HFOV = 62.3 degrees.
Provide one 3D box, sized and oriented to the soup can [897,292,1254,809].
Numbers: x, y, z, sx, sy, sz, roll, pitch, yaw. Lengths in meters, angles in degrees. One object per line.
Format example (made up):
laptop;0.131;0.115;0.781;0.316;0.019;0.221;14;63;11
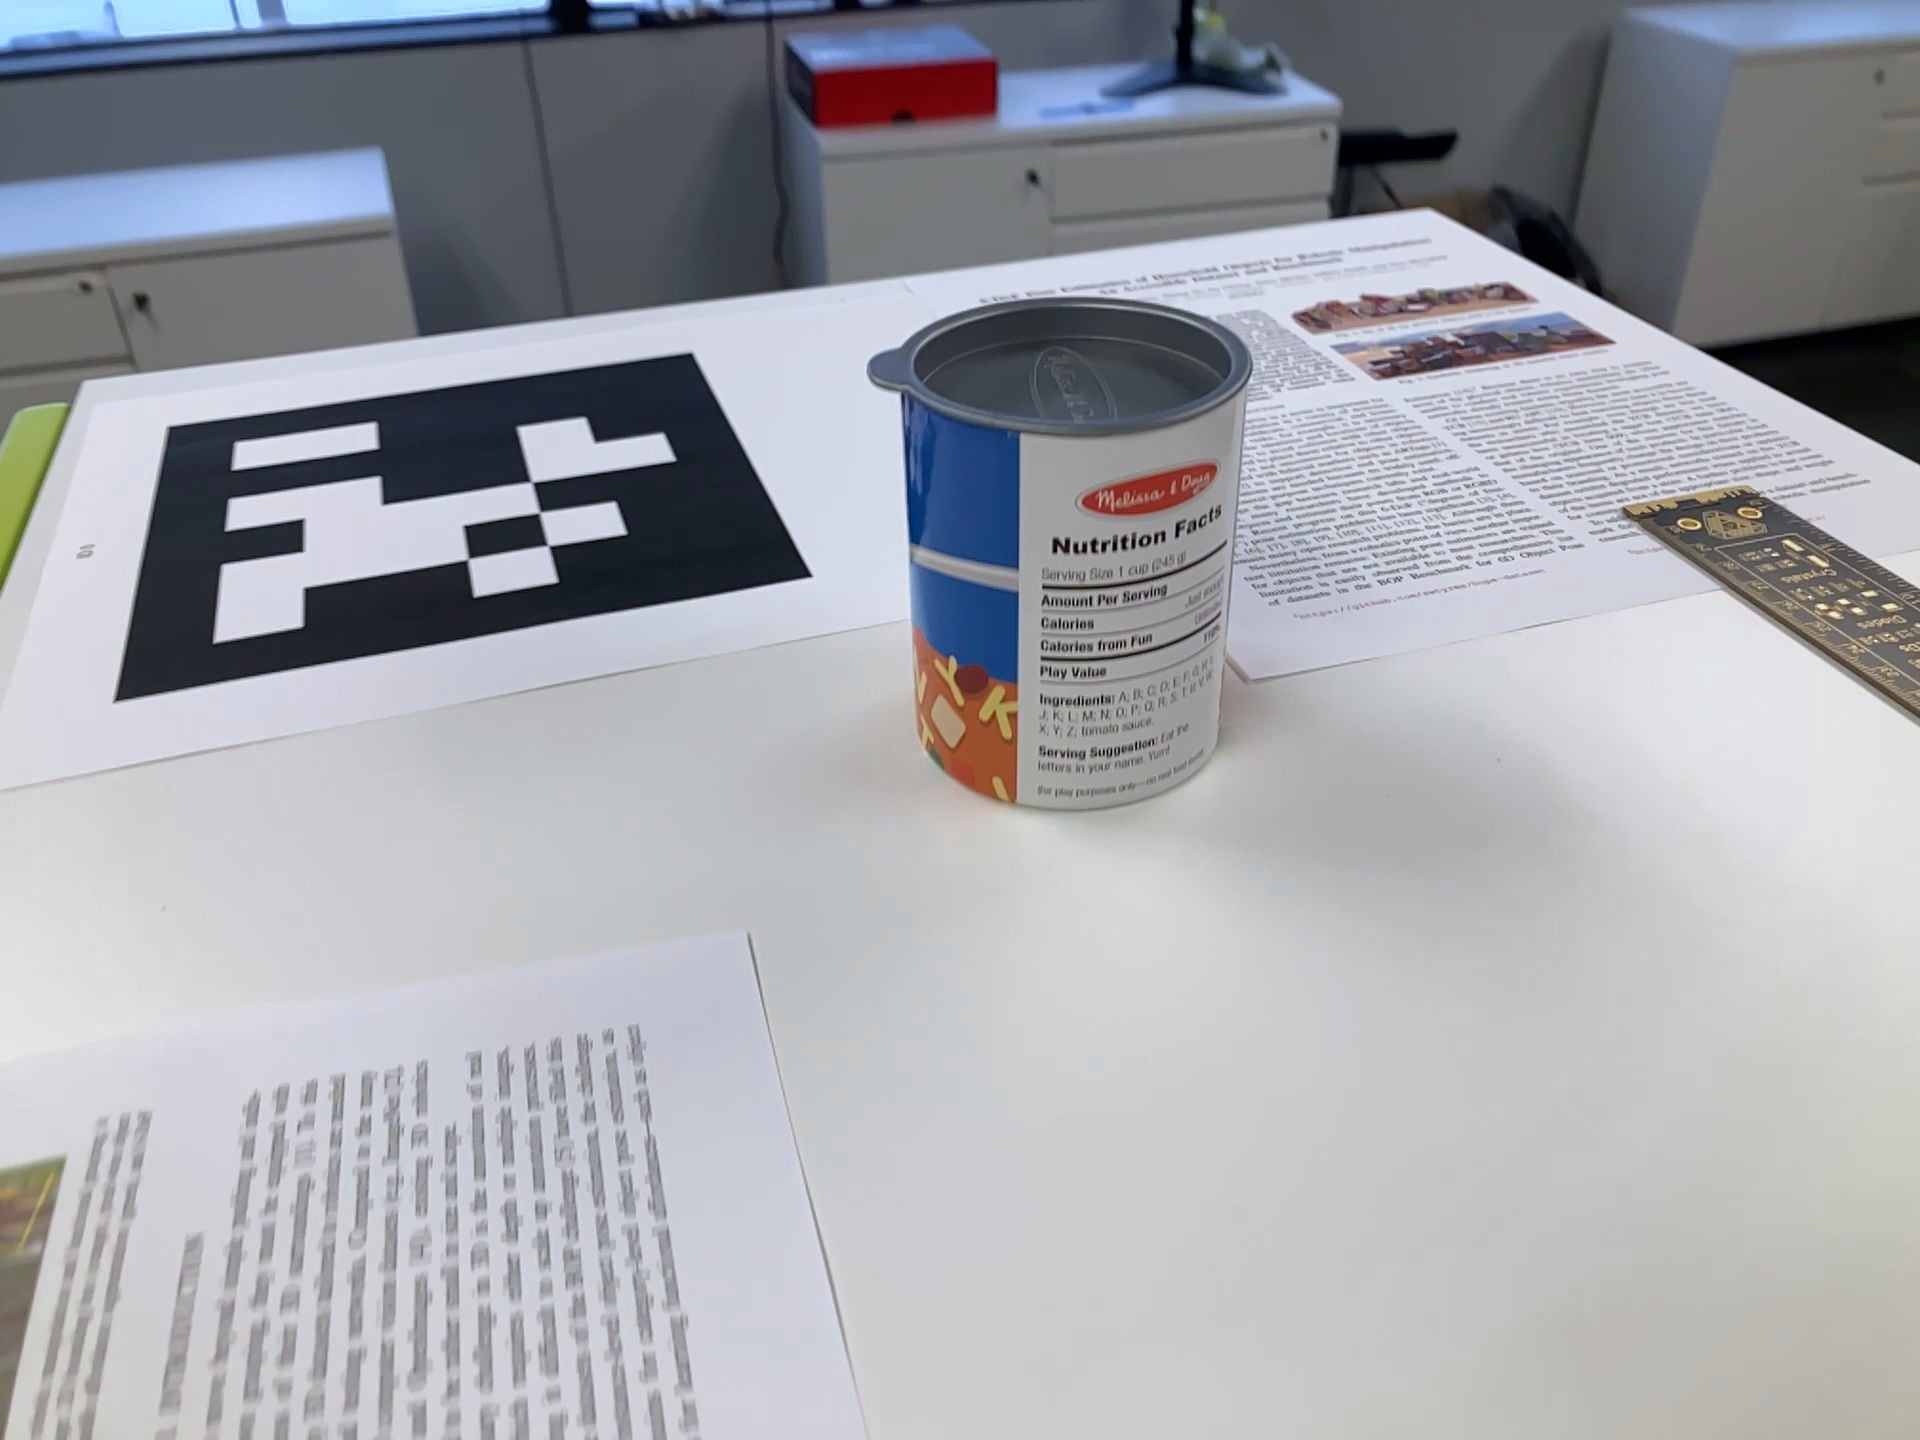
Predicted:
soup can;0.021;-0.036;0.322;0.071;0.084;0.071;-1;34;1
